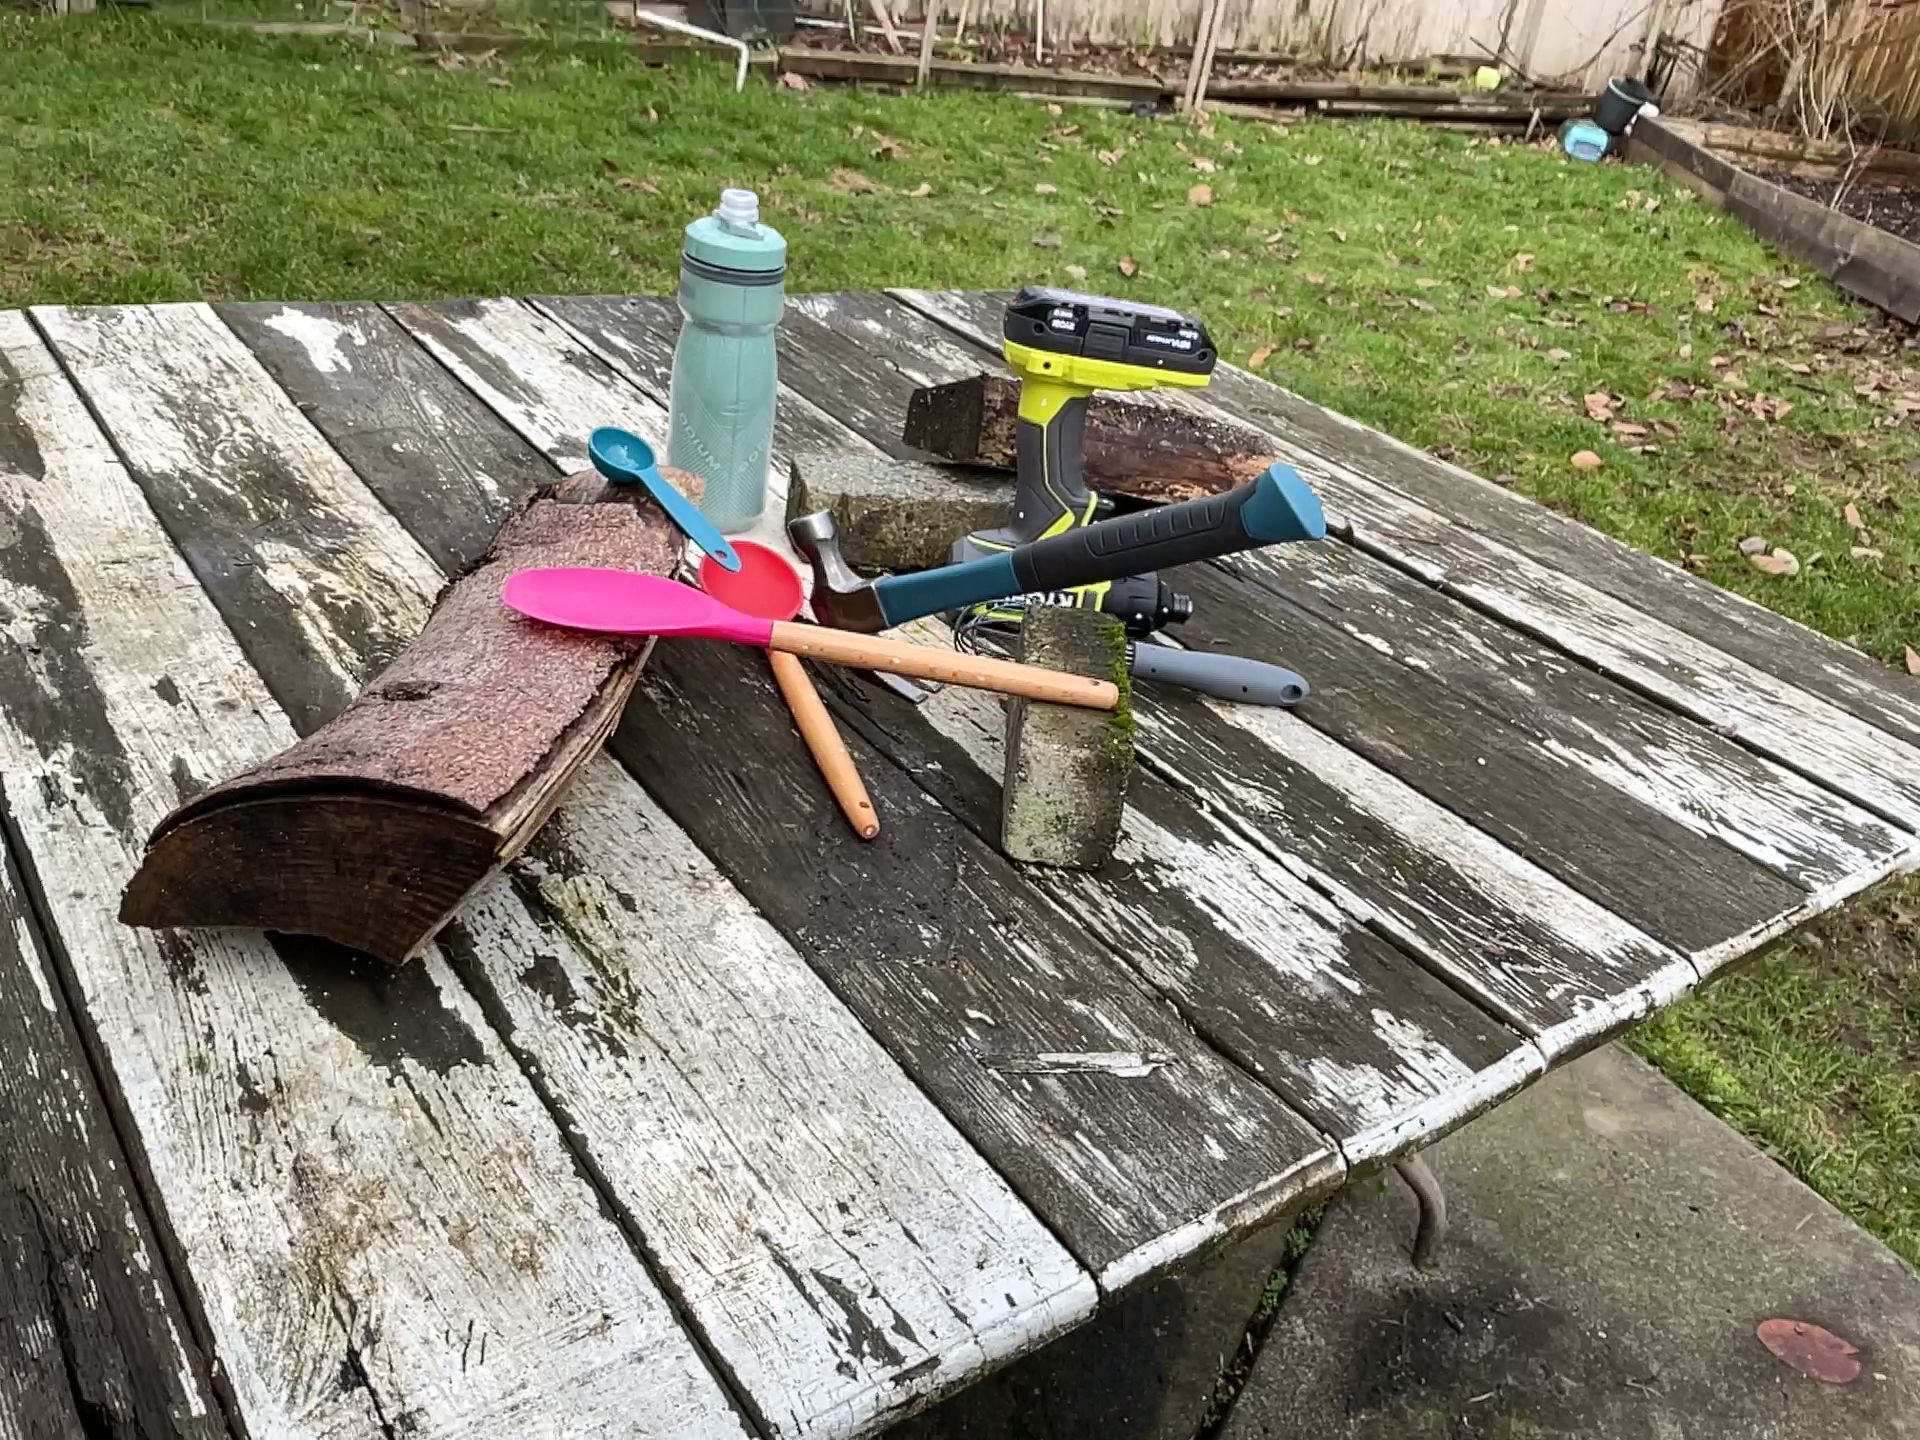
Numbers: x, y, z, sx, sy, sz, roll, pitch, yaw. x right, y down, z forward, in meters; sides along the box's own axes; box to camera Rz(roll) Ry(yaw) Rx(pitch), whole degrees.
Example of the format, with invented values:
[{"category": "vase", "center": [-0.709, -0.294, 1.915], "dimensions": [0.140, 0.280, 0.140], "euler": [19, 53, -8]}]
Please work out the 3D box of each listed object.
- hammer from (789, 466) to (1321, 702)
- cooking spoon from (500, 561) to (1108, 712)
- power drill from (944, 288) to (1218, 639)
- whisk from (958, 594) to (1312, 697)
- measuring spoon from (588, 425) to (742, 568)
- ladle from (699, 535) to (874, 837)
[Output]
[{"category": "hammer", "center": [0.047, -0.089, 0.918], "dimensions": [0.331, 0.128, 0.033], "euler": [-10, 17, 36]}, {"category": "cooking spoon", "center": [-0.077, -0.041, 0.829], "dimensions": [0.318, 0.017, 0.069], "euler": [11, 28, -7]}, {"category": "power drill", "center": [0.089, -0.164, 1.068], "dimensions": [0.171, 0.223, 0.080], "euler": [8, 21, -7]}, {"category": "whisk", "center": [0.115, -0.043, 1.031], "dimensions": [0.238, 0.055, 0.055], "euler": [9, 37, -10]}, {"category": "measuring spoon", "center": [-0.179, -0.130, 0.963], "dimensions": [0.129, 0.021, 0.042], "euler": [45, 39, 14]}, {"category": "ladle", "center": [-0.101, -0.027, 0.964], "dimensions": [0.069, 0.031, 0.316], "euler": [0, 33, -23]}]
